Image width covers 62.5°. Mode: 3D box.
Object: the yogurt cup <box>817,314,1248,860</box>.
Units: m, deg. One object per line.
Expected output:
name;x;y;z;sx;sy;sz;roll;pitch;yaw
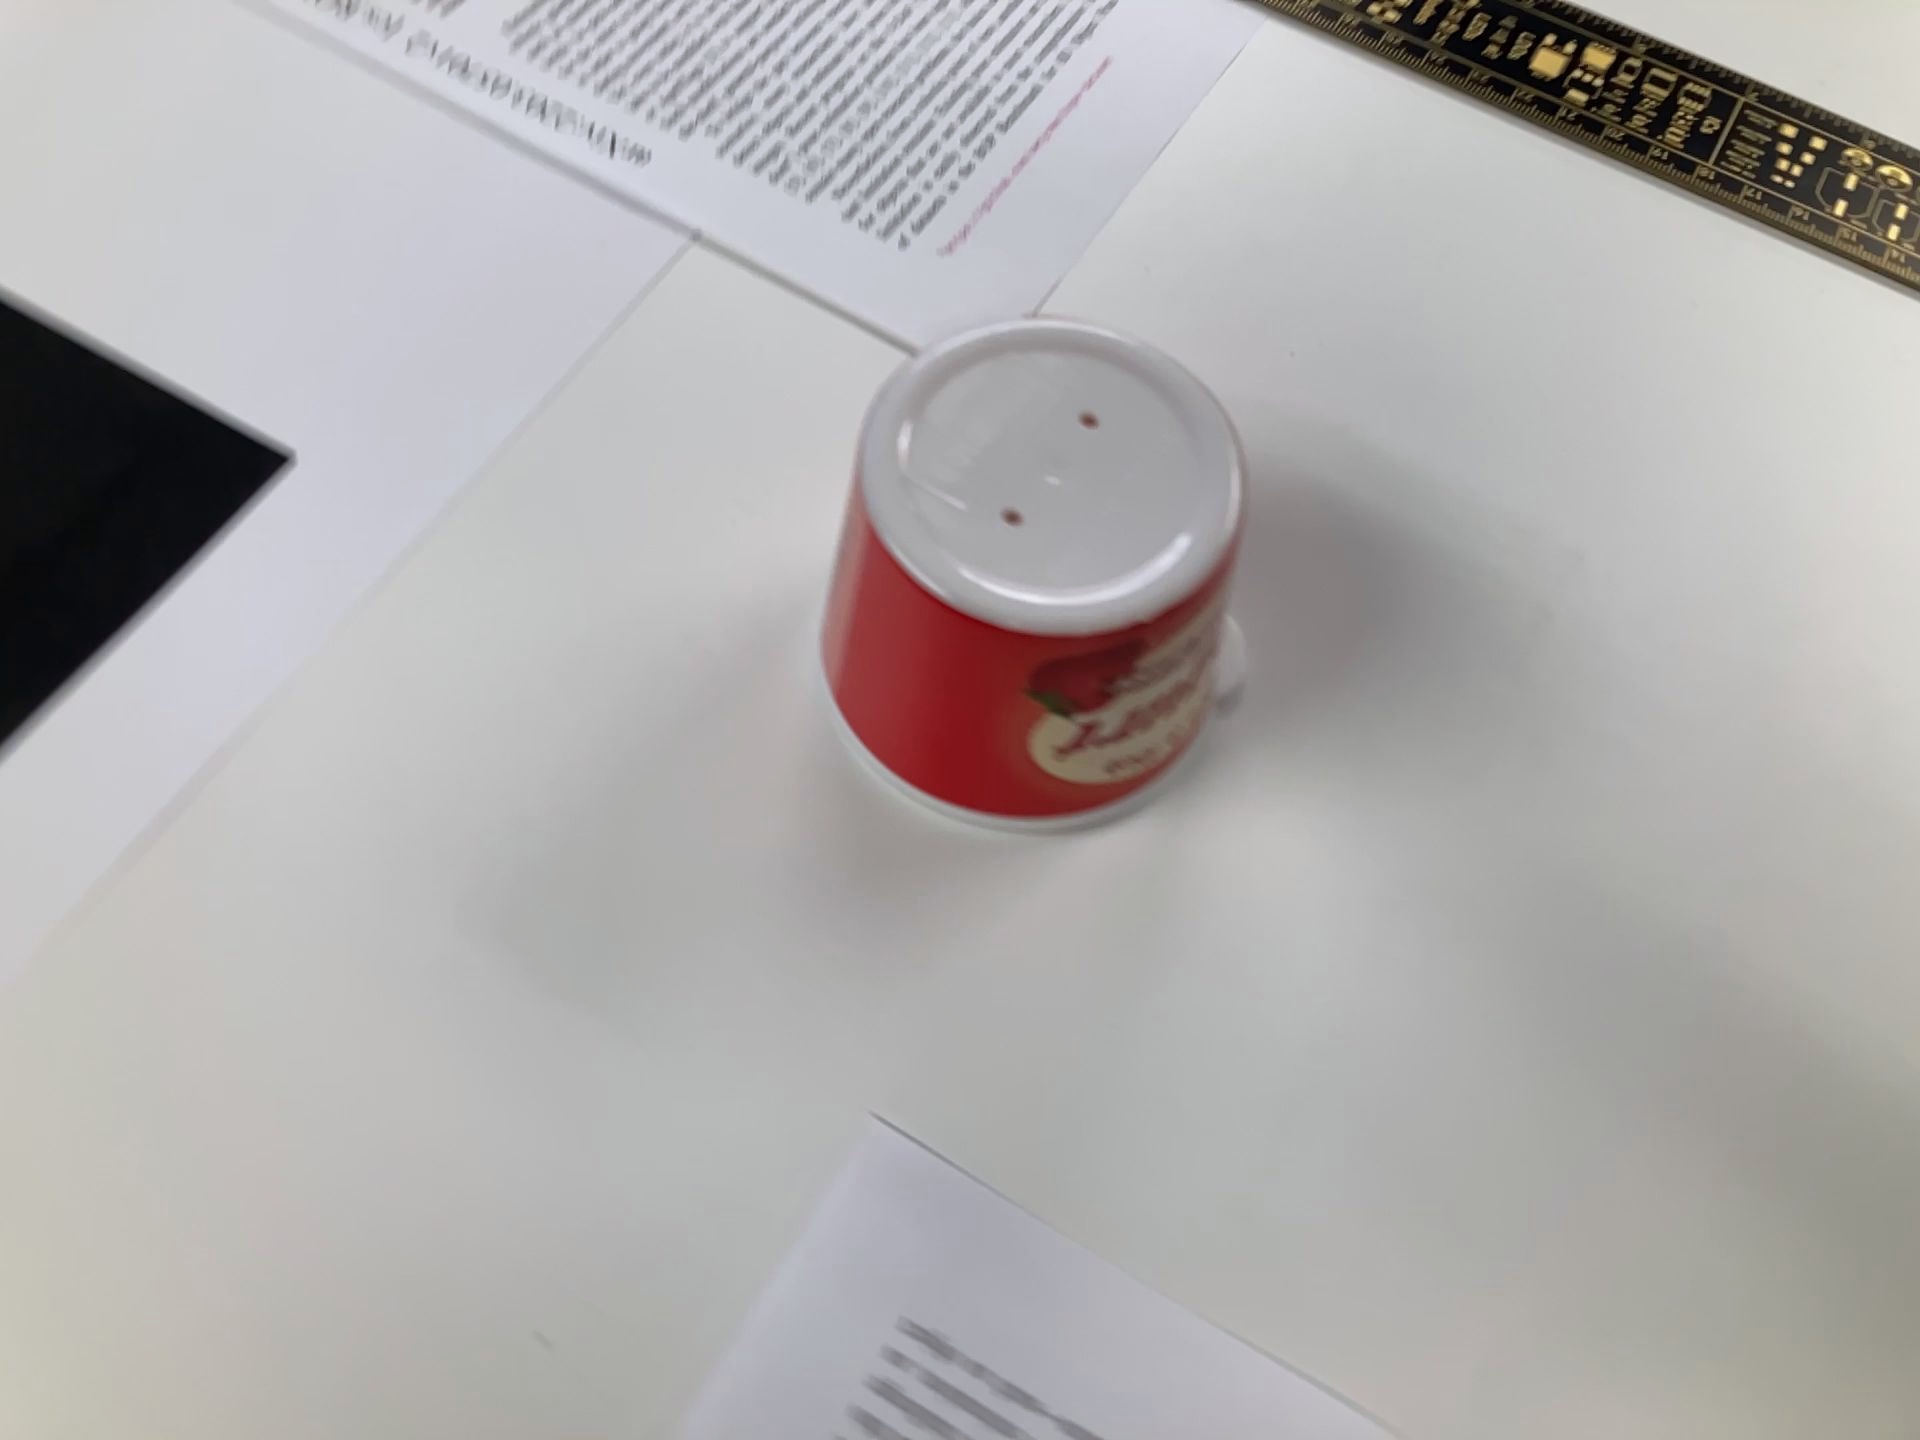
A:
yogurt cup;0.012;-0.024;0.242;0.072;0.054;0.072;1;63;-3
